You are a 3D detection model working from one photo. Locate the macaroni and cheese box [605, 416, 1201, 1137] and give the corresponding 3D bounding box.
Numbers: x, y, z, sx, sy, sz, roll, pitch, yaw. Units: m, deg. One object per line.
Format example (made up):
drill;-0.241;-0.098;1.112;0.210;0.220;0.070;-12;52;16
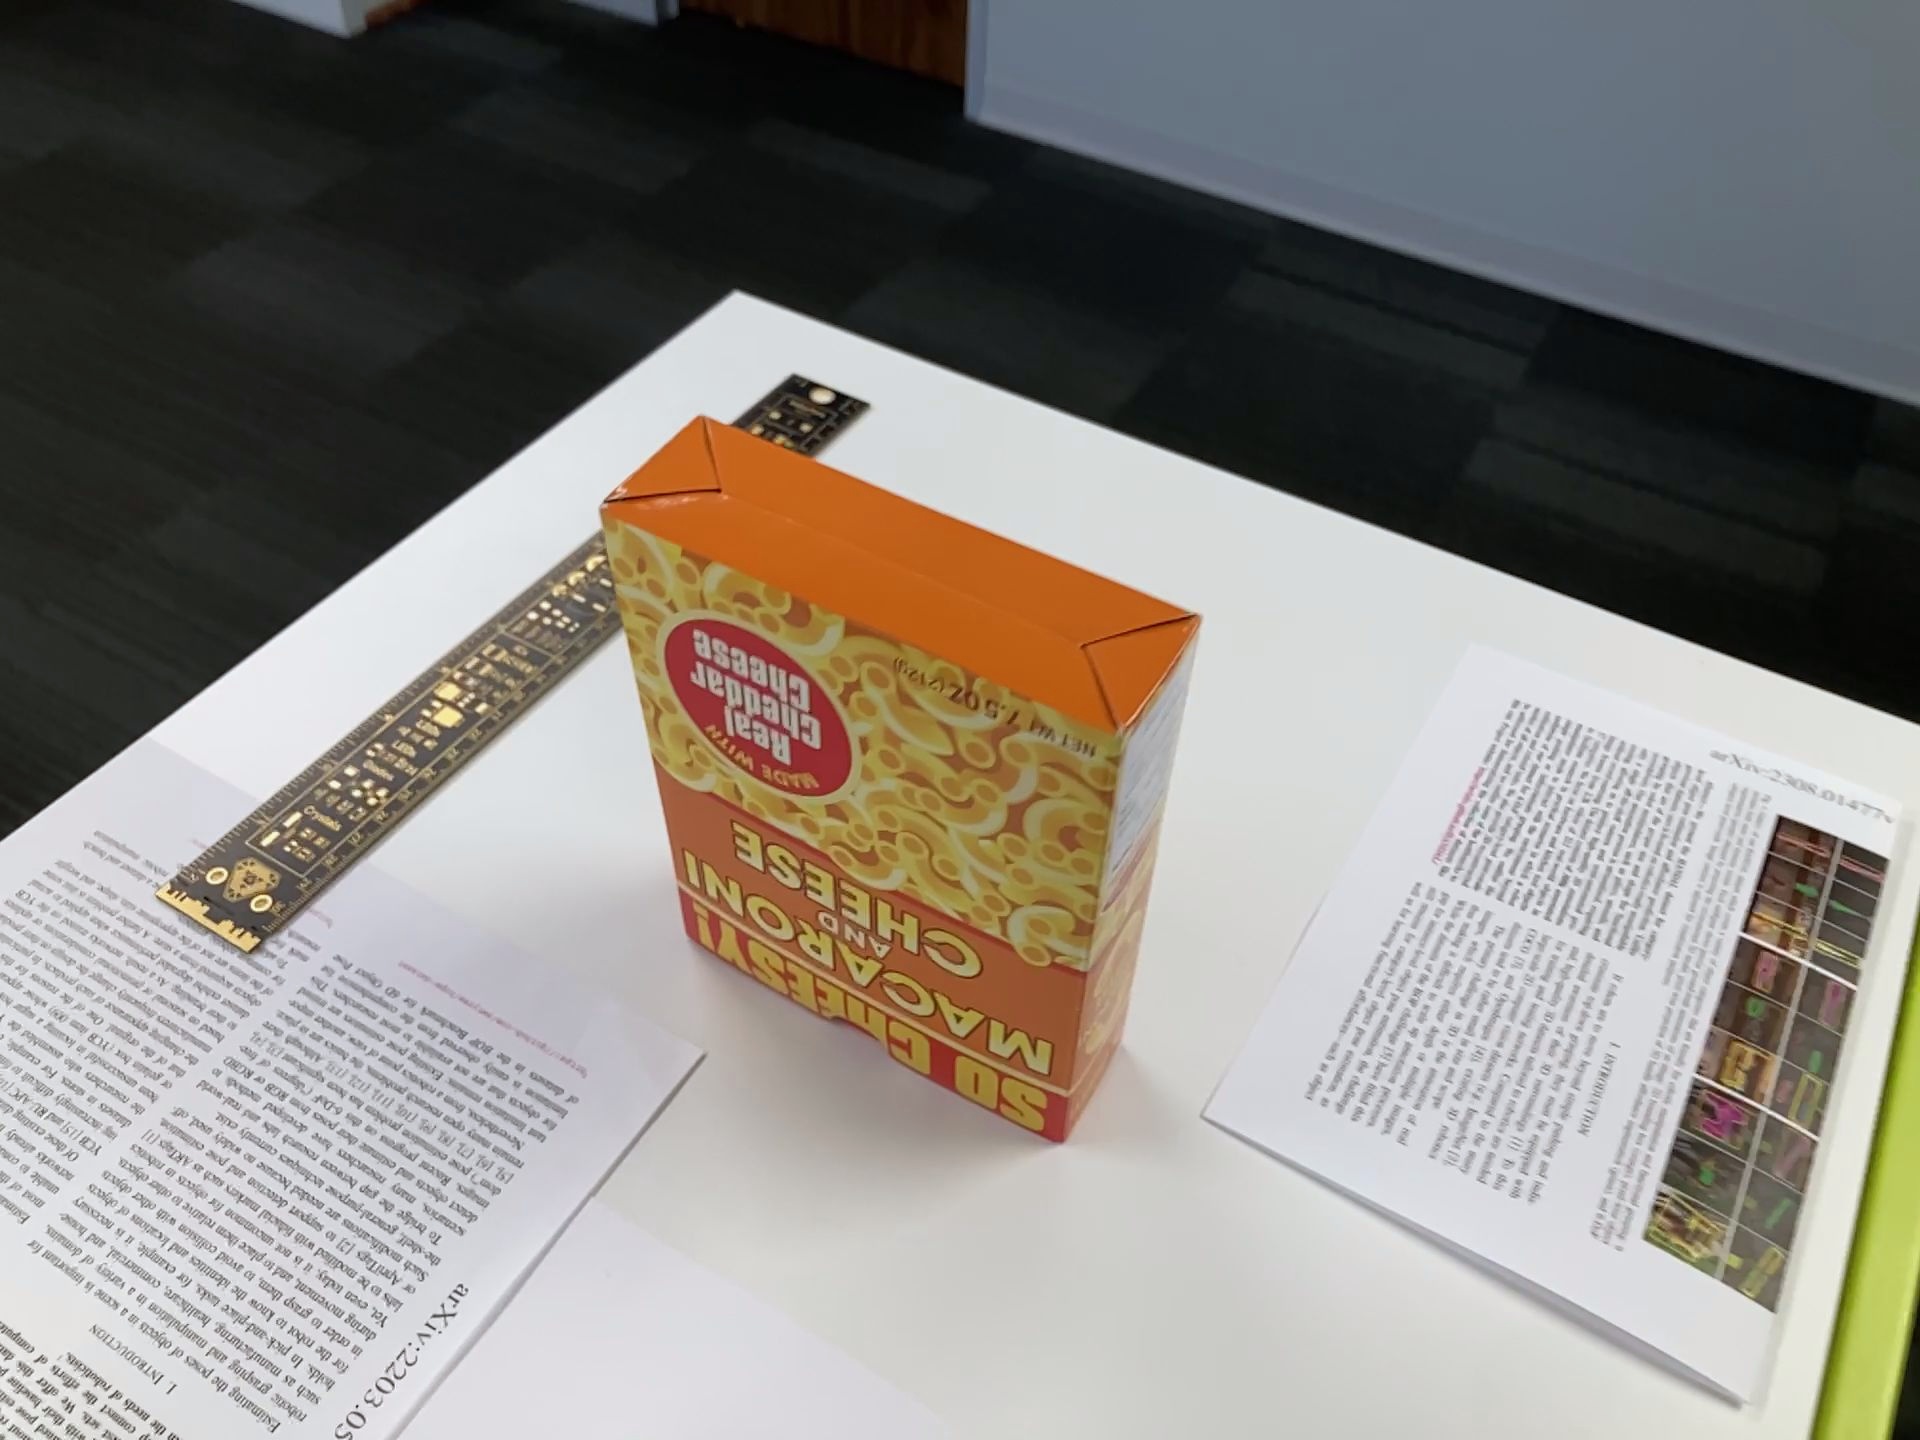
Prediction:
macaroni and cheese box;-0.016;0.022;0.386;0.124;0.166;0.040;25;53;19
